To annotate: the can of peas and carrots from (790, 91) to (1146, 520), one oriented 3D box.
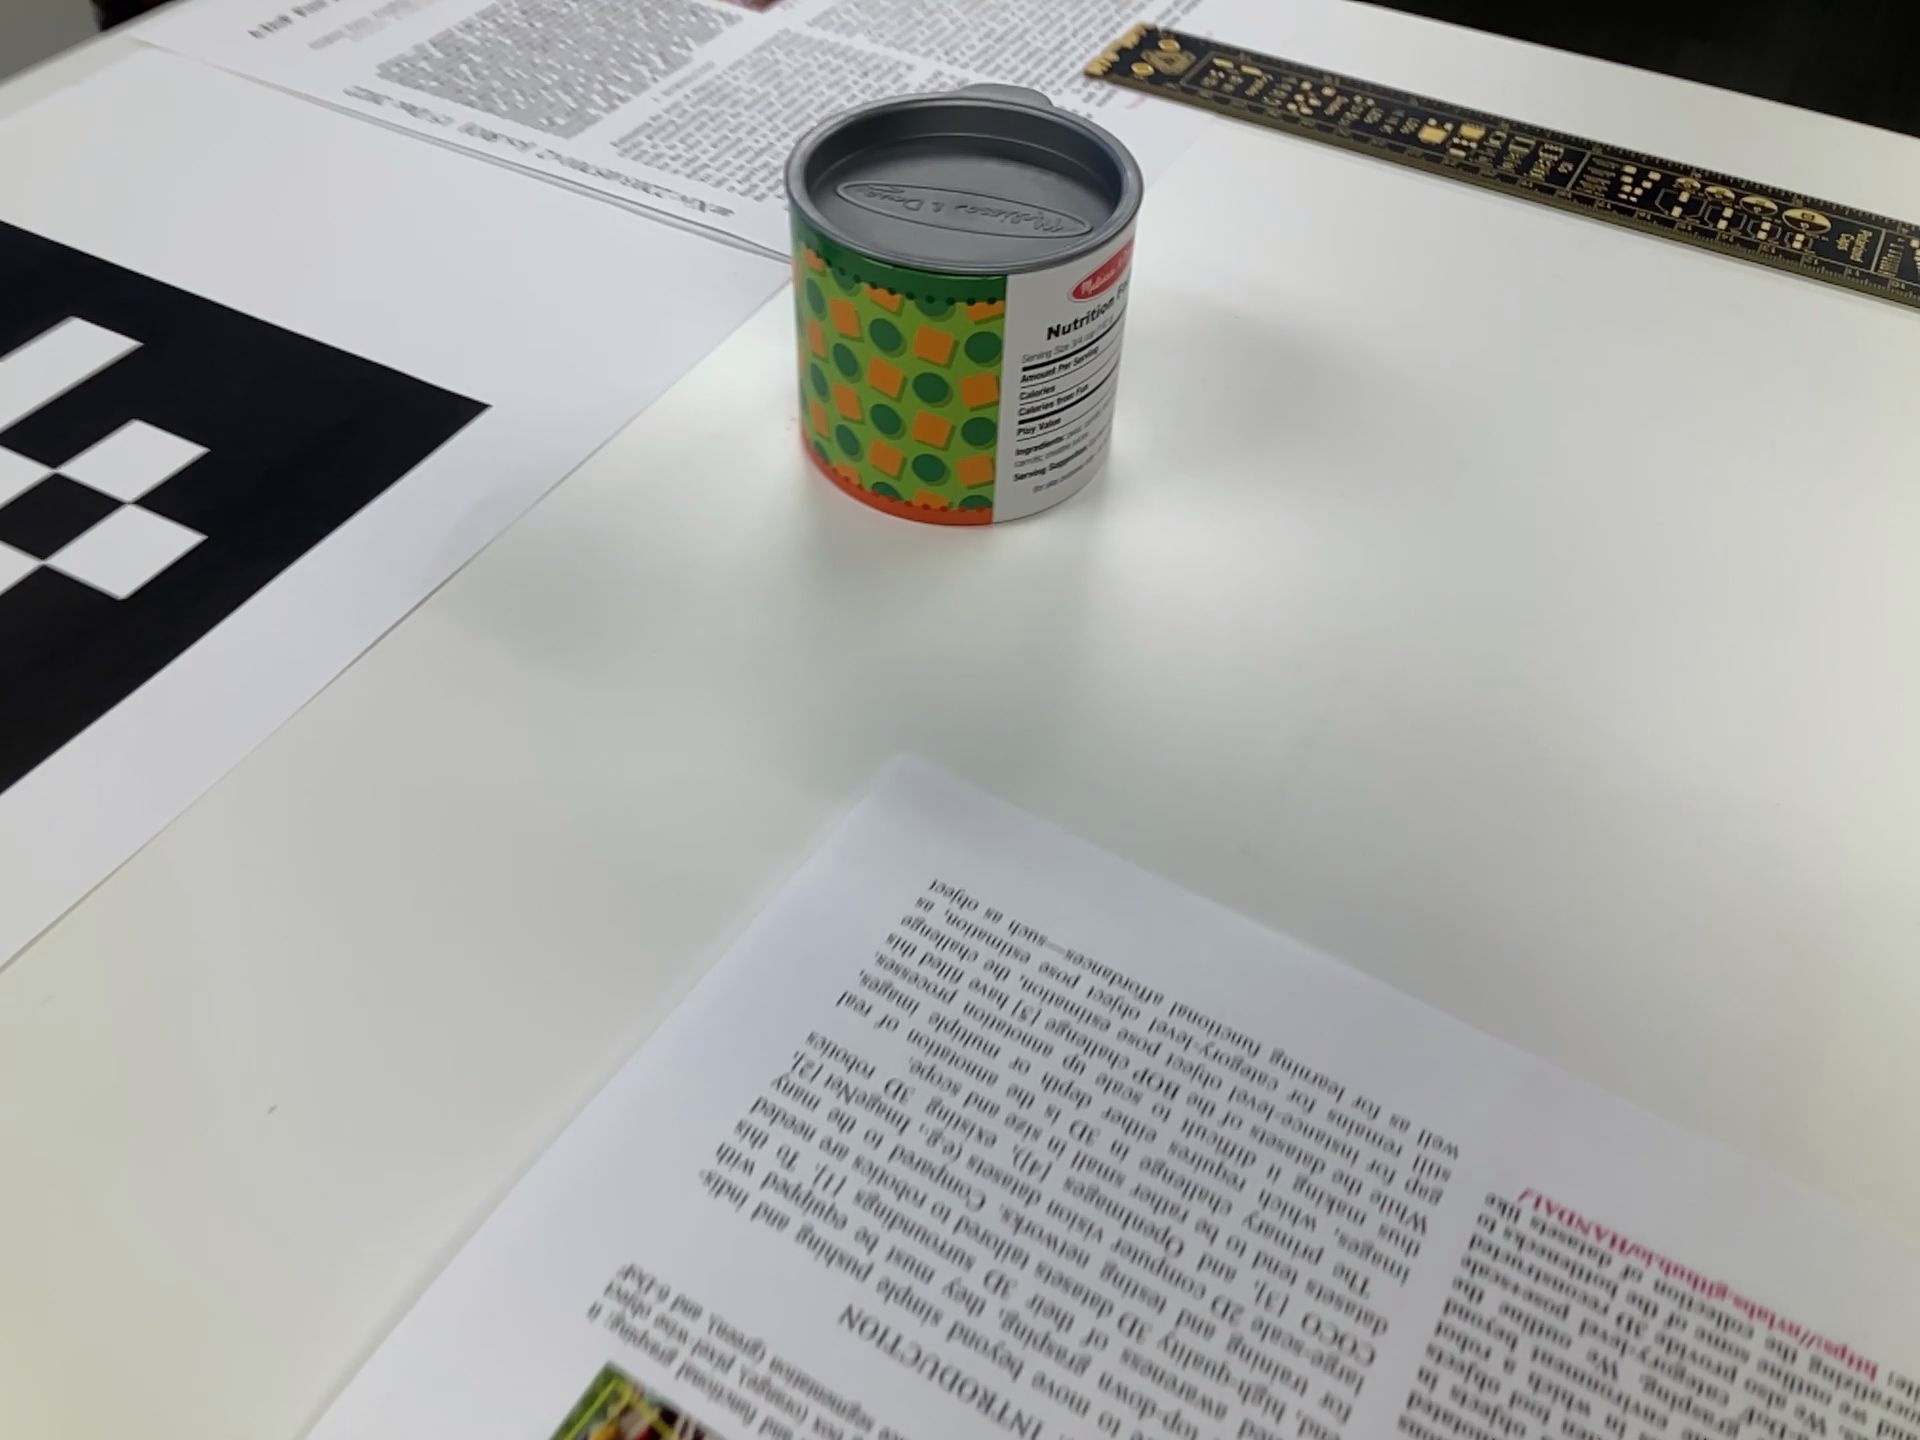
[{"bbox_3d":[-0.001,-0.083,0.316,0.071,0.059,0.071,1,47,-1],"label":"can of peas and carrots"}]
